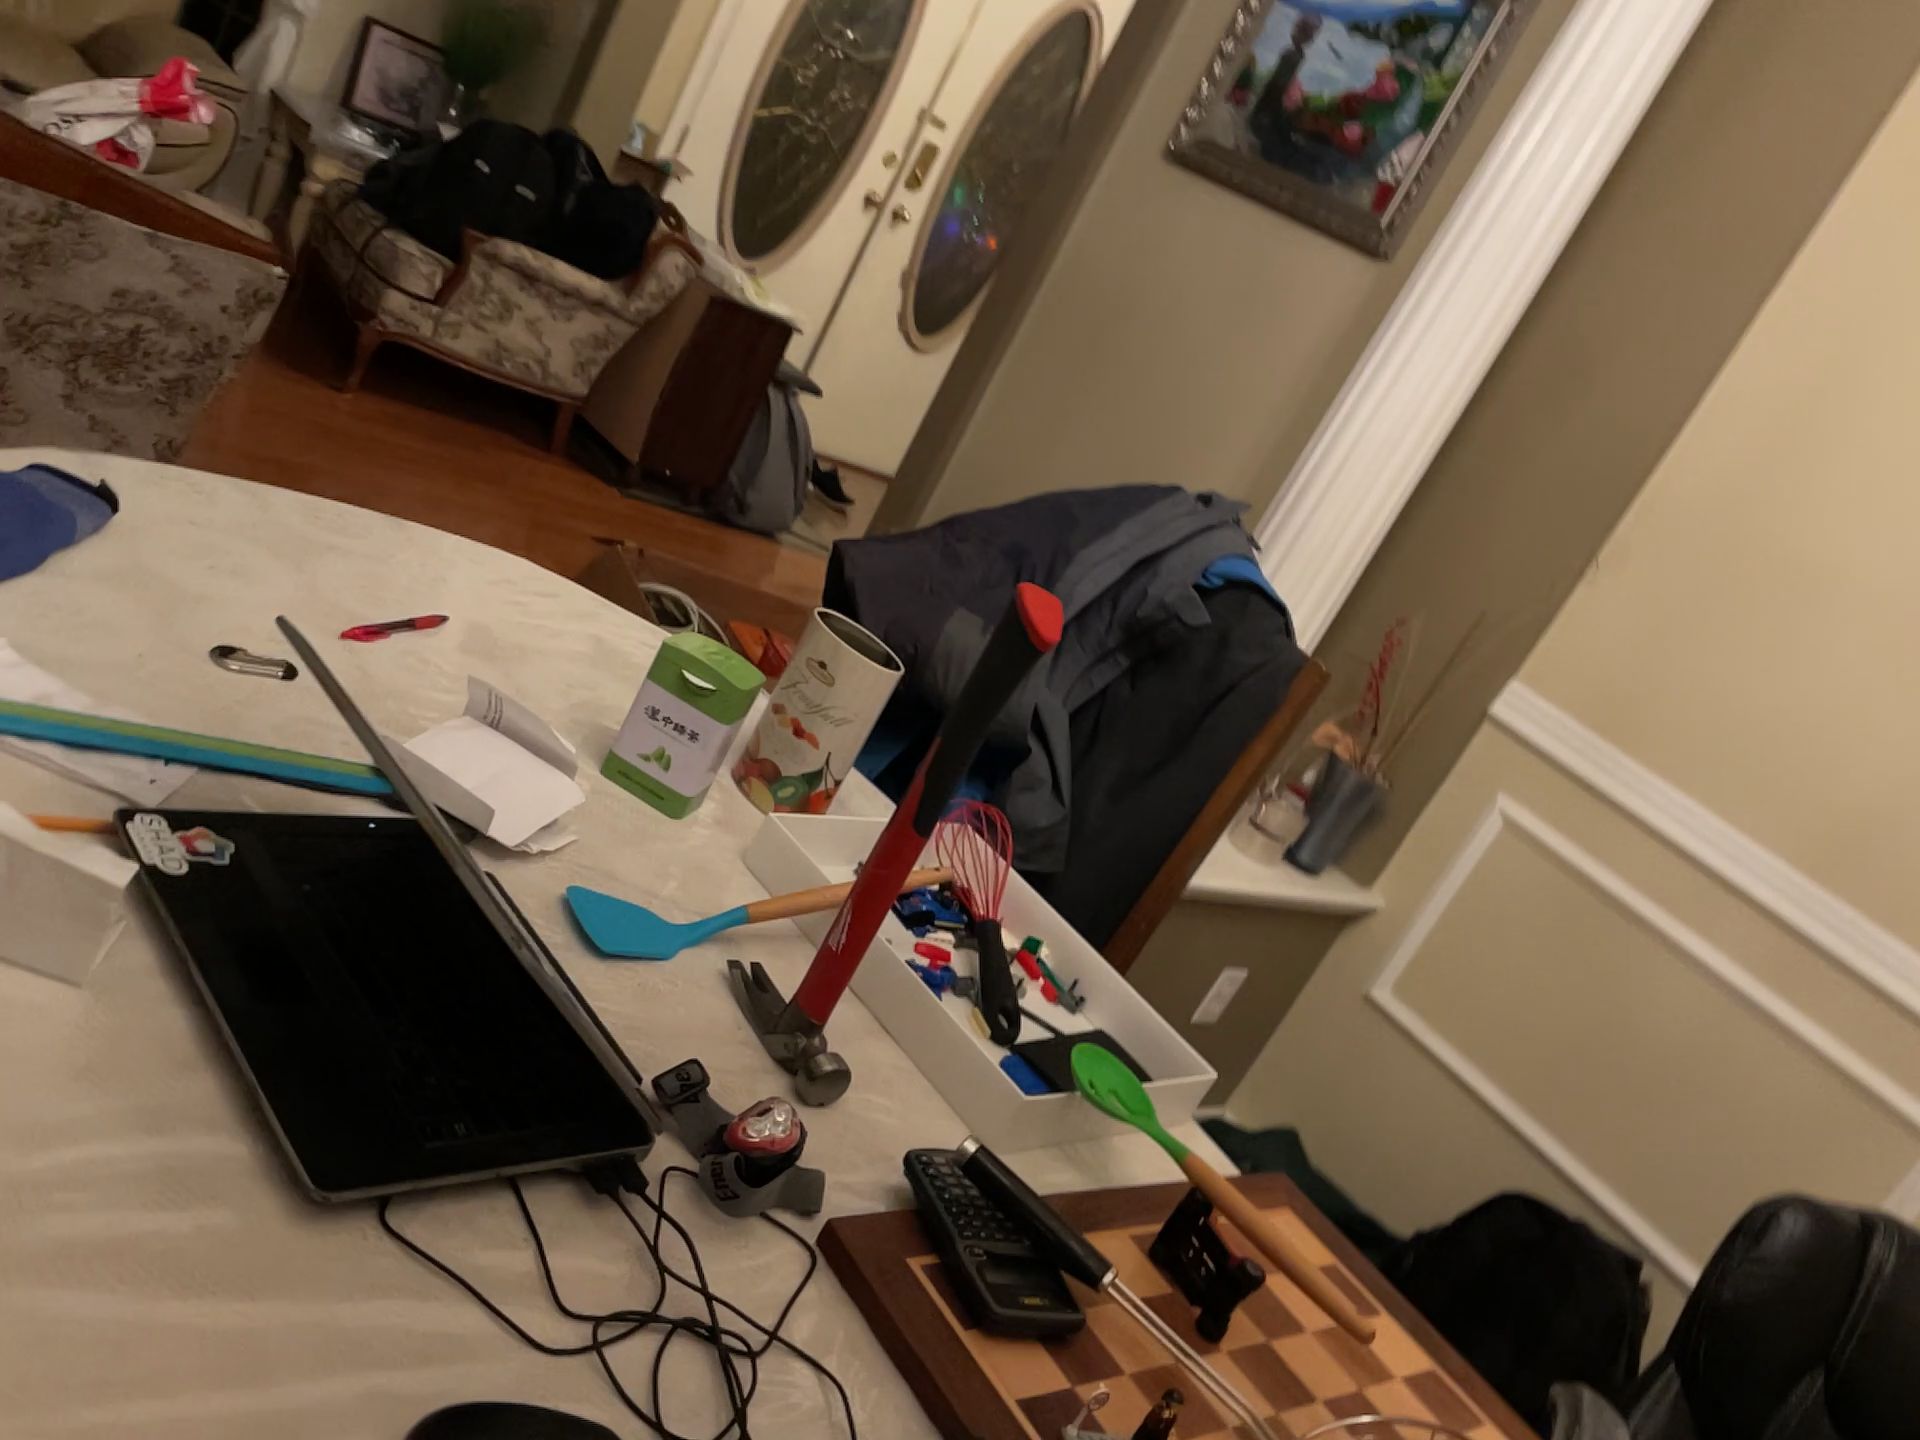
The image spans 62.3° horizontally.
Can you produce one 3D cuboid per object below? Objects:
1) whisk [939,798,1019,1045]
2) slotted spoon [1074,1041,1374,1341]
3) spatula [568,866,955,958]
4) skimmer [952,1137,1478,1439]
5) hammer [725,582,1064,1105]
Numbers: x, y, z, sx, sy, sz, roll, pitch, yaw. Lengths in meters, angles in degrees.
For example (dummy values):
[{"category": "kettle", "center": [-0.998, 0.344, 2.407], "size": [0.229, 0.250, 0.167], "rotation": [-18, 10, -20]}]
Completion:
[{"category": "whisk", "center": [0.022, 0.171, 1.412], "size": [0.073, 0.073, 0.296], "rotation": [6, 37, -11]}, {"category": "slotted spoon", "center": [0.171, 0.316, 1.089], "size": [0.070, 0.031, 0.314], "rotation": [19, 11, -36]}, {"category": "spatula", "center": [-0.141, 0.139, 1.232], "size": [0.317, 0.044, 0.083], "rotation": [-9, 34, -30]}, {"category": "skimmer", "center": [0.152, 0.363, 0.970], "size": [0.364, 0.090, 0.127], "rotation": [39, 21, 17]}, {"category": "hammer", "center": [-0.045, 0.070, 1.091], "size": [0.038, 0.386, 0.143], "rotation": [12, 24, -42]}]
